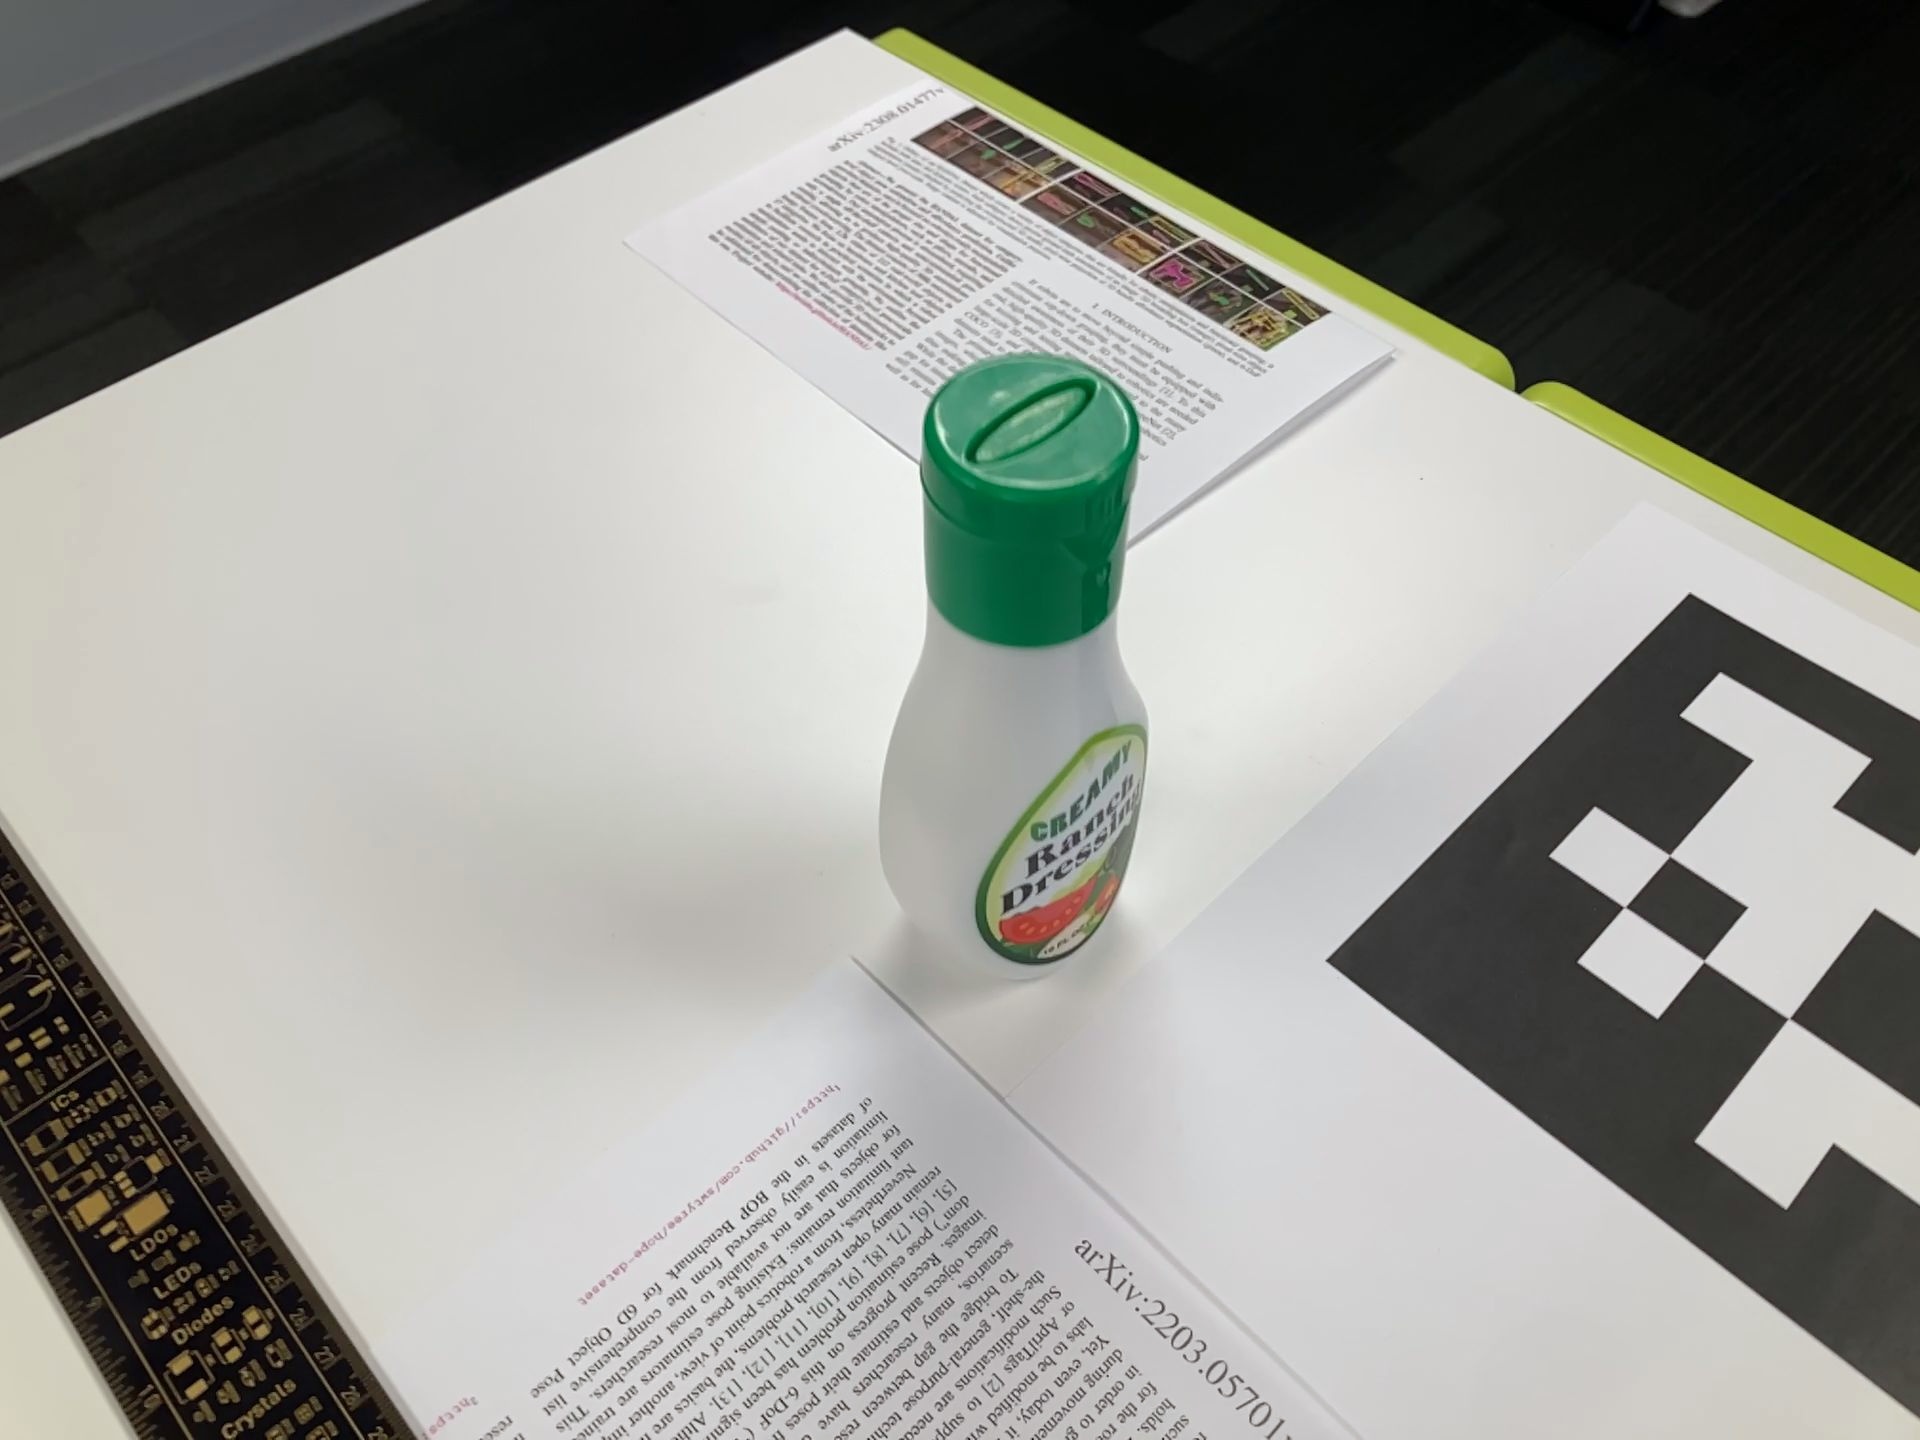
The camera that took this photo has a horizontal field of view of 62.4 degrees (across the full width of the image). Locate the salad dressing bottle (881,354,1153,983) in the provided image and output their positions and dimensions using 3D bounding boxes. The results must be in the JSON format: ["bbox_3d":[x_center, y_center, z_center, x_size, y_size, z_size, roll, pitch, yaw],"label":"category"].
[{"bbox_3d":[0.012,-0.003,0.316,0.064,0.147,0.044,-37,59,-25],"label":"salad dressing bottle"}]
